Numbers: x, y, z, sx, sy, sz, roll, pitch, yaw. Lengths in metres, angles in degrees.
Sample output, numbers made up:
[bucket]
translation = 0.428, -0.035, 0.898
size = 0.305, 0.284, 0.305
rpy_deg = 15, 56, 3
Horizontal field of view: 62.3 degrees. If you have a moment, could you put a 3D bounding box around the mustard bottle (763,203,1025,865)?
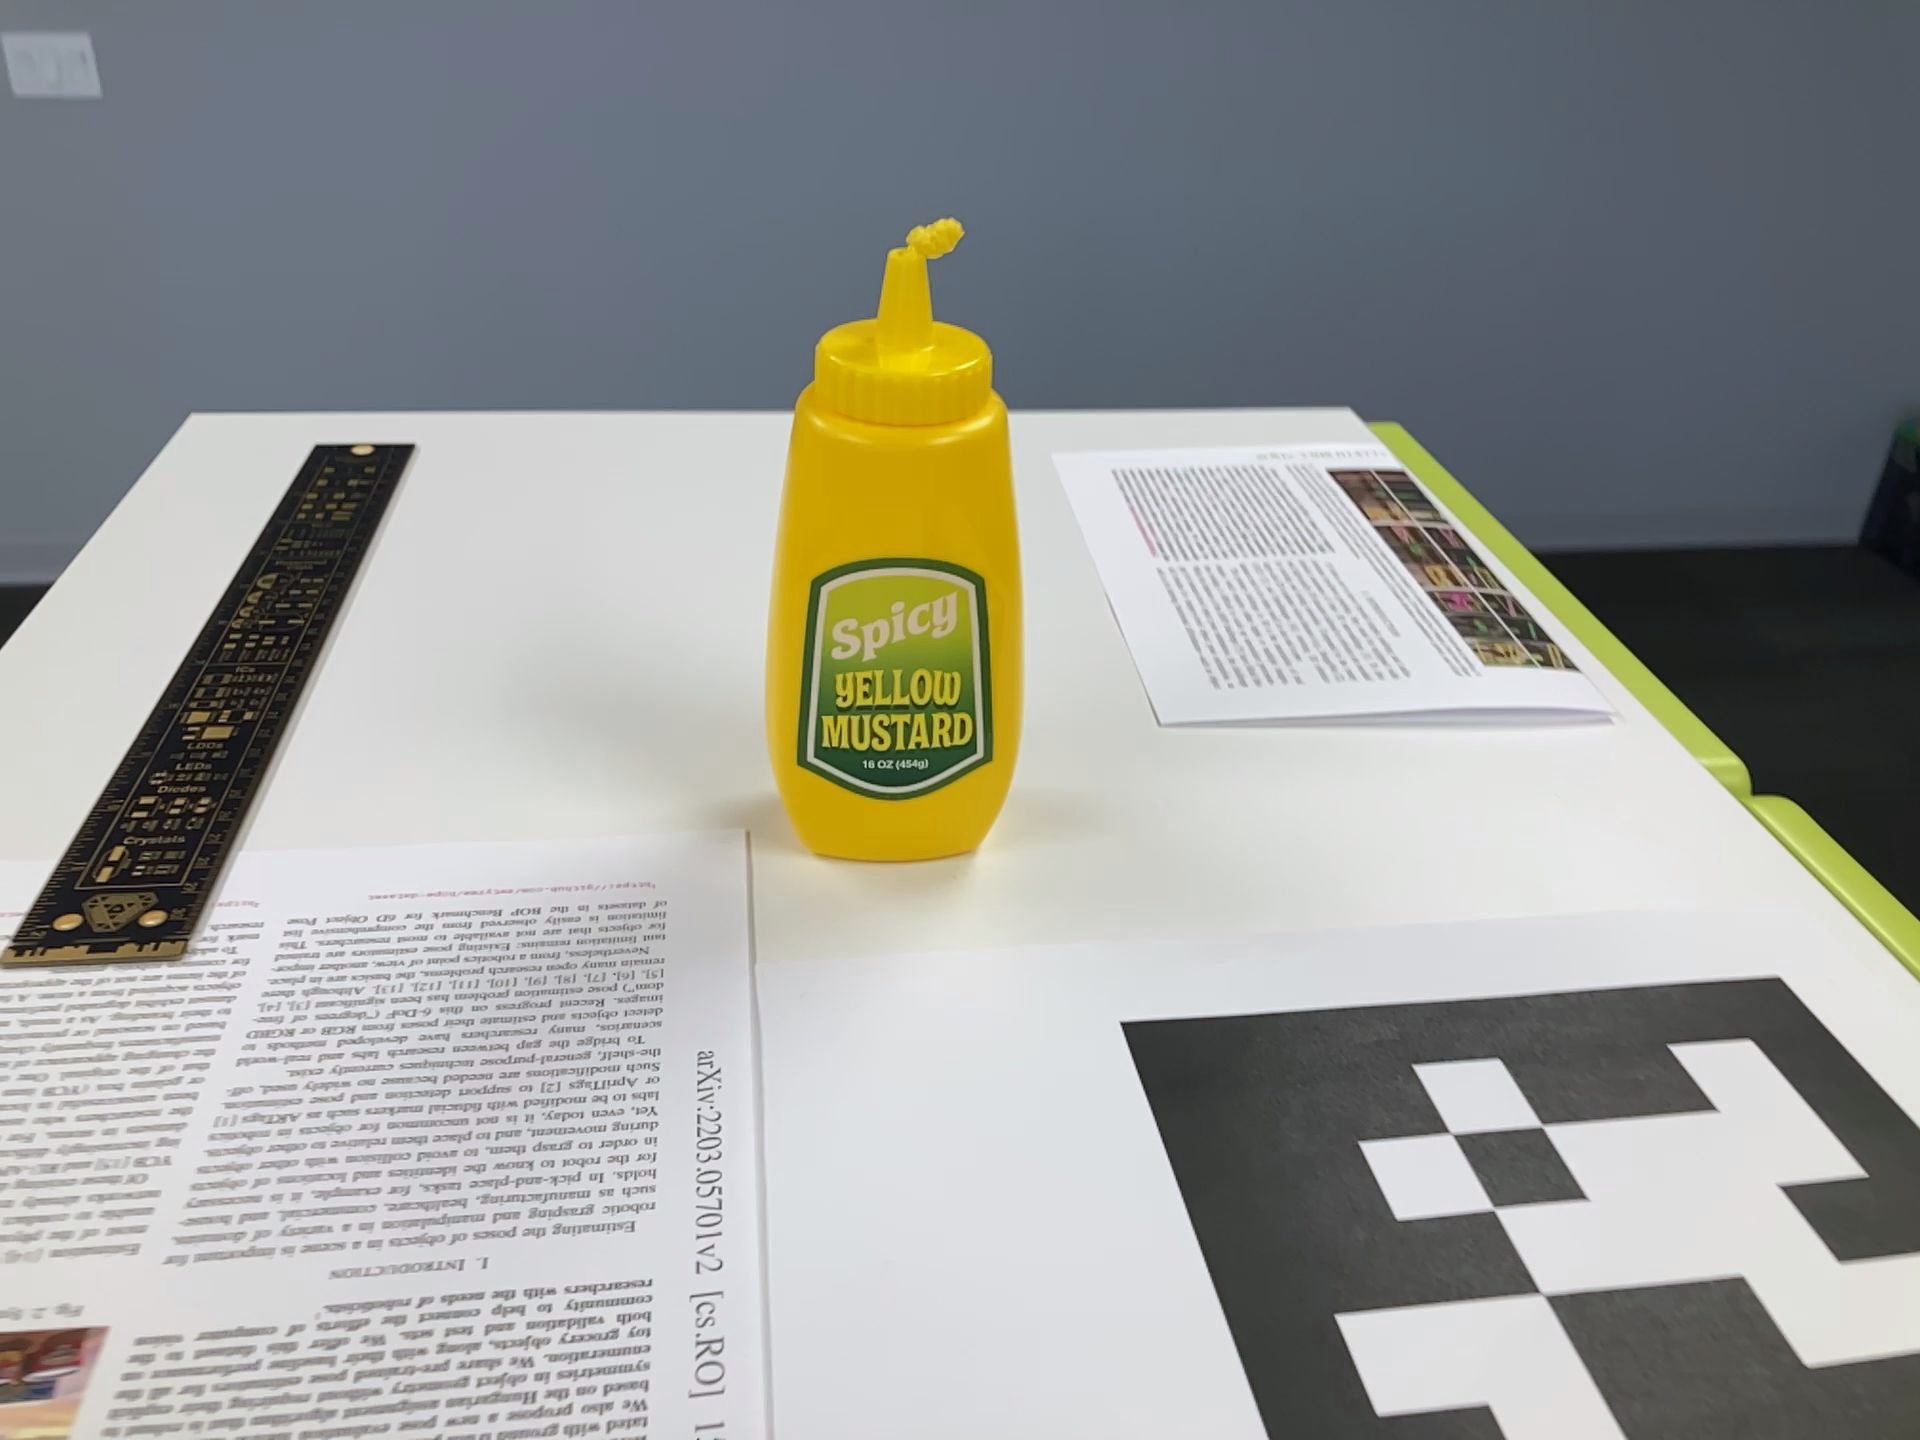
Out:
[mustard bottle]
translation = -0.016, -0.040, 0.378
size = 0.065, 0.160, 0.049
rpy_deg = -1, 32, -4
